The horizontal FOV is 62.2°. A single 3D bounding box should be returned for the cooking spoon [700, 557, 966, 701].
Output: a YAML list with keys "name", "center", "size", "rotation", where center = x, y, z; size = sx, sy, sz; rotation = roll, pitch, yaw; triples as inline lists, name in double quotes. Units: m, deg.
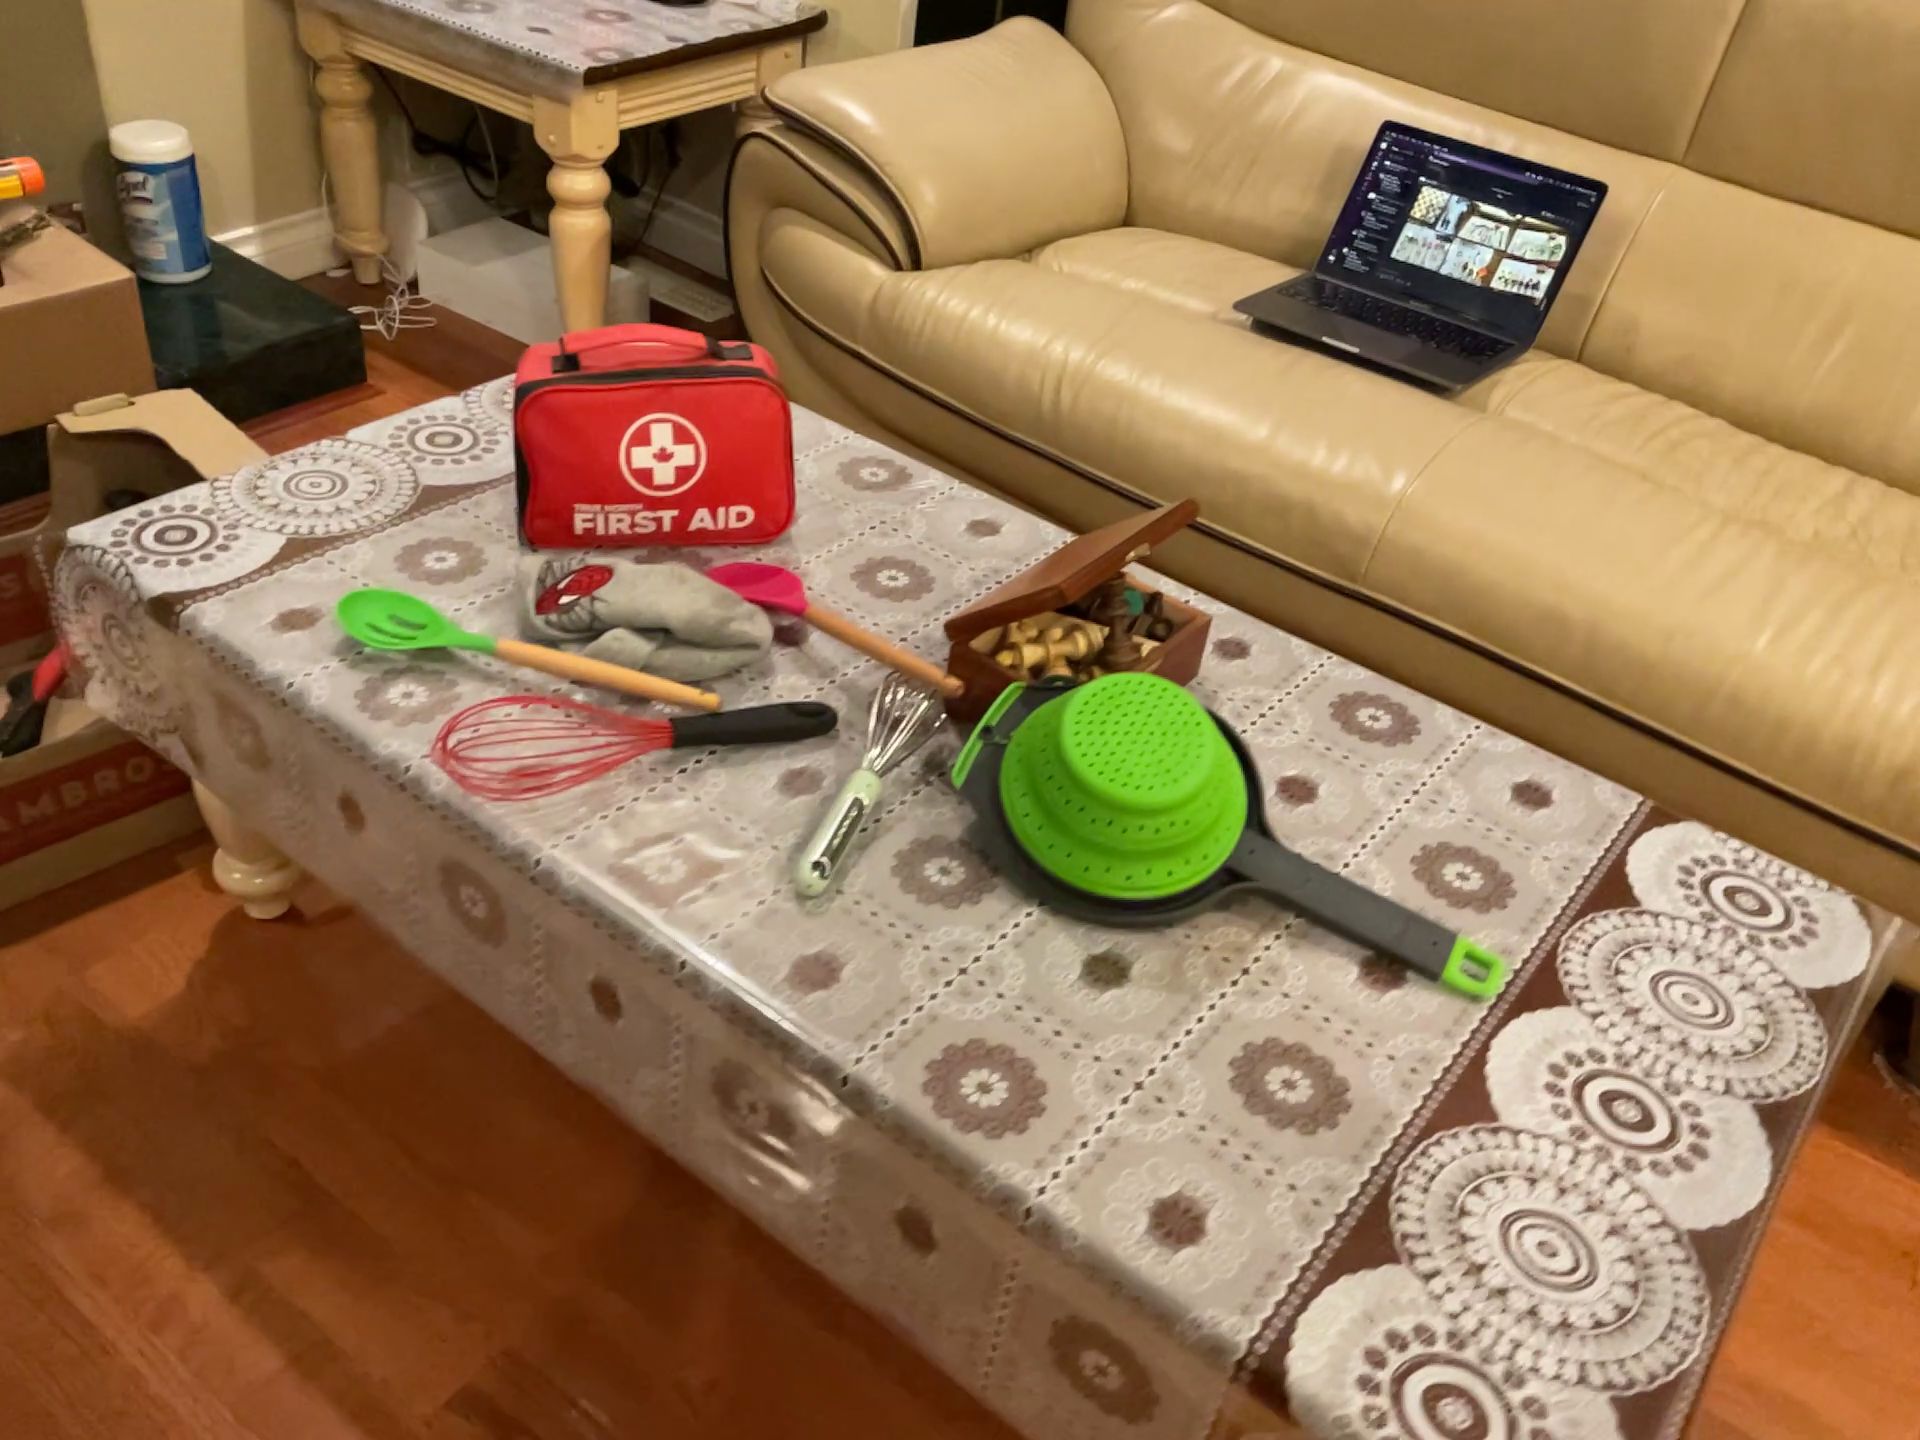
- name: "cooking spoon"
  center: [-0.105, -0.077, 1.264]
  size: [0.069, 0.017, 0.319]
  rotation: [-24, 37, -34]

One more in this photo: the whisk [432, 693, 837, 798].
- name: "whisk"
  center: [-0.225, 0.010, 1.141]
  size: [0.295, 0.073, 0.073]
  rotation: [-5, 32, -28]

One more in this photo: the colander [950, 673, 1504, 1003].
- name: "colander"
  center: [0.188, 0.072, 1.074]
  size: [0.397, 0.094, 0.205]
  rotation: [27, 59, 12]

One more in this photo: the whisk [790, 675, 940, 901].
- name: "whisk"
  center: [-0.066, 0.046, 1.141]
  size: [0.058, 0.059, 0.246]
  rotation: [-21, 24, 33]

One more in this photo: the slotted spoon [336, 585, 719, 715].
- name: "slotted spoon"
  center: [-0.327, -0.047, 1.200]
  size: [0.314, 0.031, 0.070]
  rotation: [15, 37, 13]
